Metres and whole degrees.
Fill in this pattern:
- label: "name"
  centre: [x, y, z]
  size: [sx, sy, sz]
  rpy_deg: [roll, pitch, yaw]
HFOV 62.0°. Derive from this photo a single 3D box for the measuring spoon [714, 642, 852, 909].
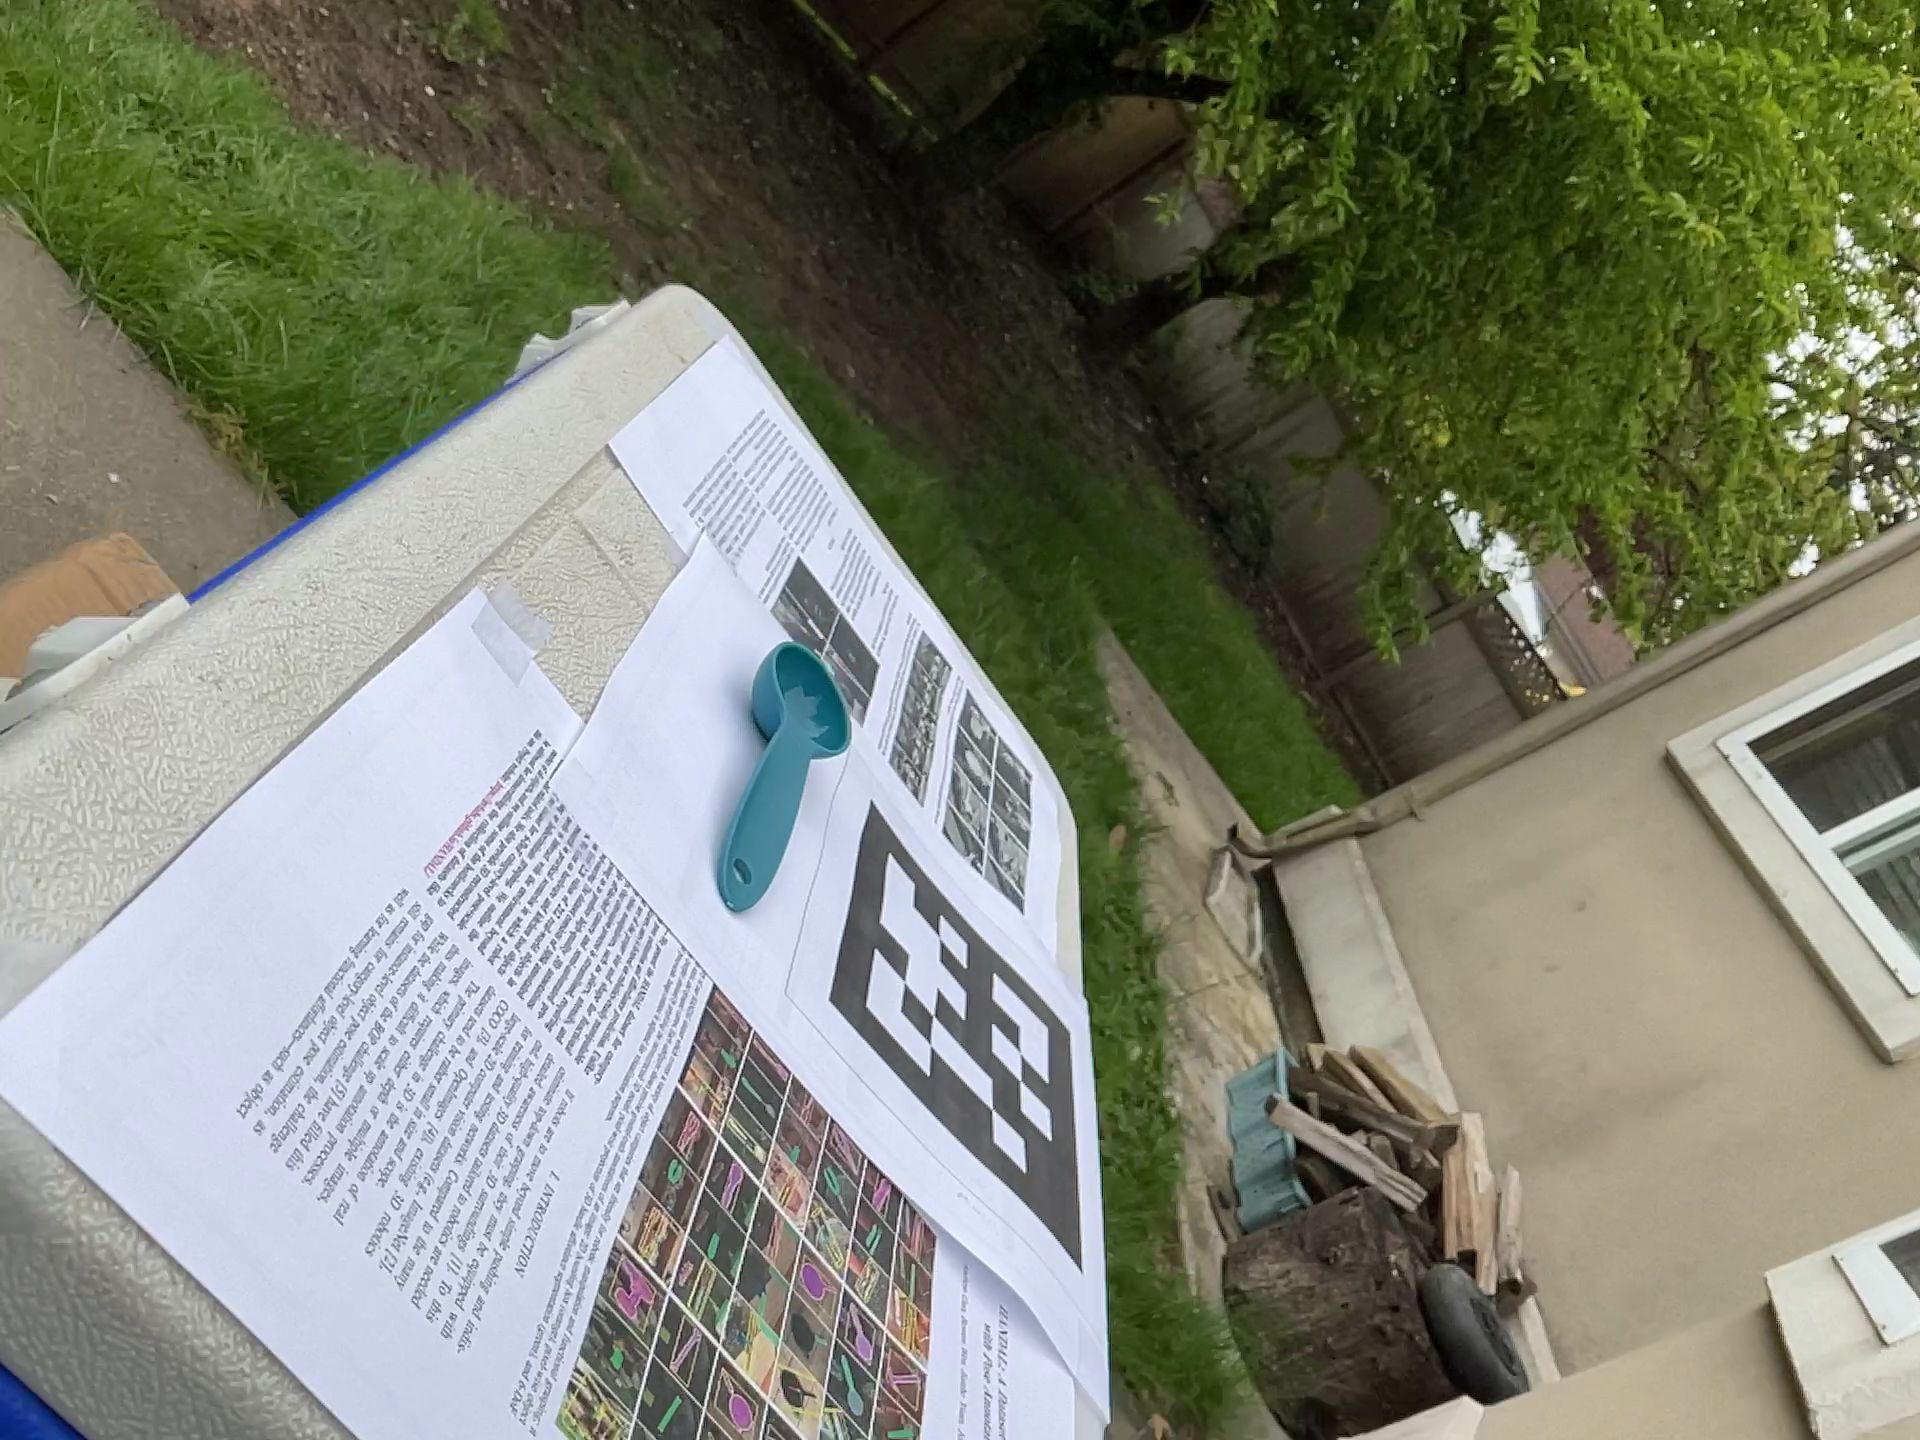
- label: "measuring spoon"
  centre: [-0.063, 0.020, 0.504]
  size: [0.042, 0.021, 0.129]
  rpy_deg: [52, 26, -22]
